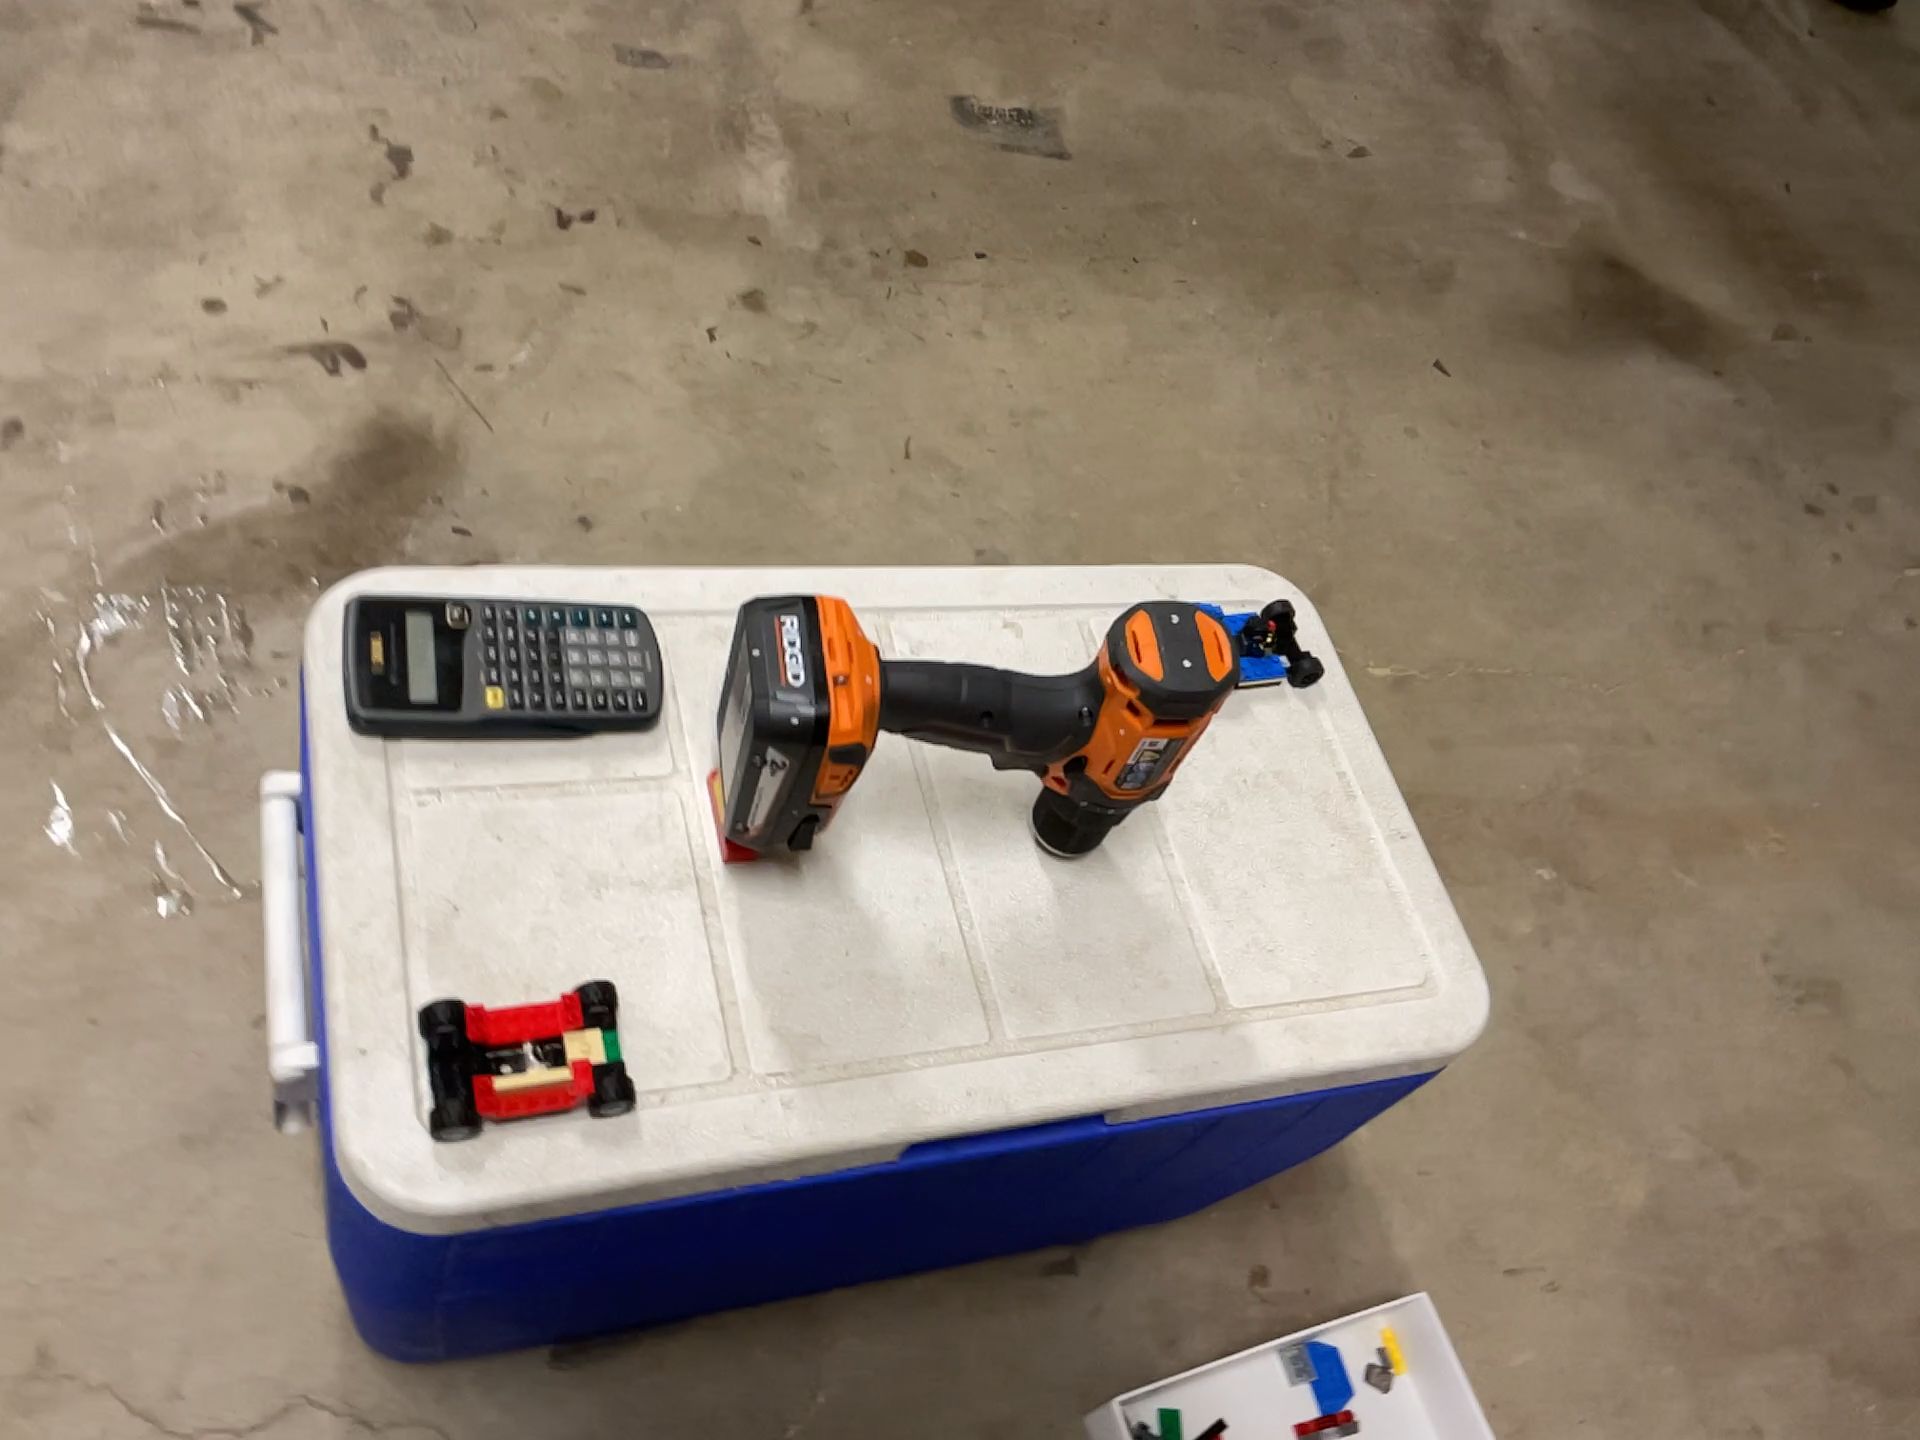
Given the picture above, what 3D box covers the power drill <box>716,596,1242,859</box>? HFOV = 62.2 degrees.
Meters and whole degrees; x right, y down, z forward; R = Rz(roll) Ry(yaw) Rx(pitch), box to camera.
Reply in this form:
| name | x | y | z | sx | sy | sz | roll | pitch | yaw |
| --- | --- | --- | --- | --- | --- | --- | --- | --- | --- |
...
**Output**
| name | x | y | z | sx | sy | sz | roll | pitch | yaw |
| --- | --- | --- | --- | --- | --- | --- | --- | --- | --- |
| power drill | 0.000 | 0.014 | 0.767 | 0.226 | 0.185 | 0.084 | 0 | 59 | -16 |
